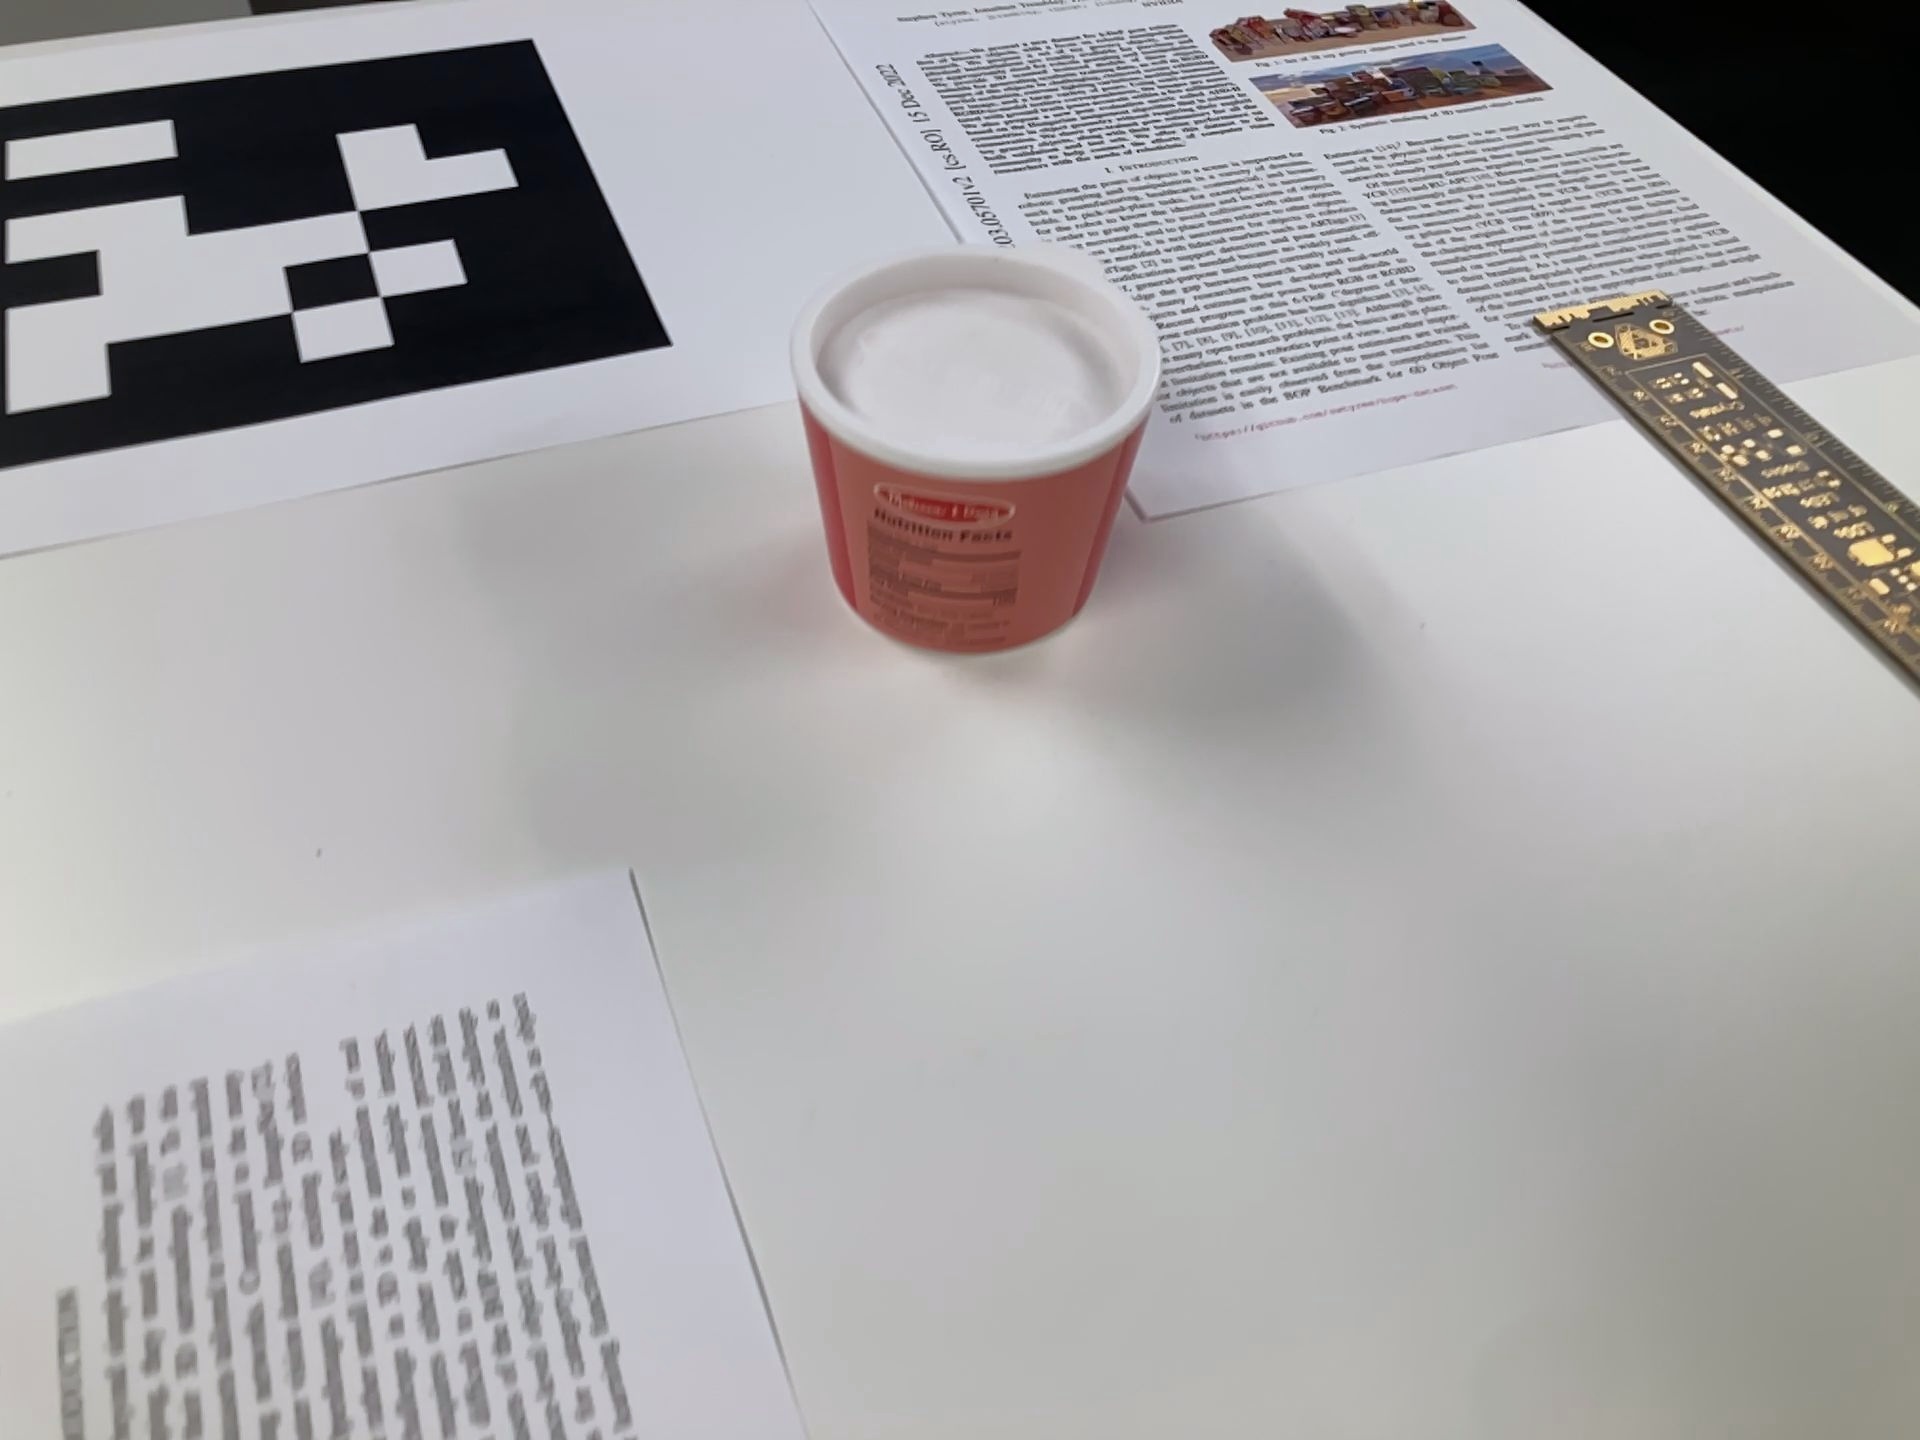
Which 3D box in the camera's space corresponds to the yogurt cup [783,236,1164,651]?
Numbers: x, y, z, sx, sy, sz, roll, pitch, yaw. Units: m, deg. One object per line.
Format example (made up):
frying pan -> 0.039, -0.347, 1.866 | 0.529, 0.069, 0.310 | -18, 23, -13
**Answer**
yogurt cup -> 0.002, -0.051, 0.302 | 0.072, 0.054, 0.072 | 1, 49, -1
